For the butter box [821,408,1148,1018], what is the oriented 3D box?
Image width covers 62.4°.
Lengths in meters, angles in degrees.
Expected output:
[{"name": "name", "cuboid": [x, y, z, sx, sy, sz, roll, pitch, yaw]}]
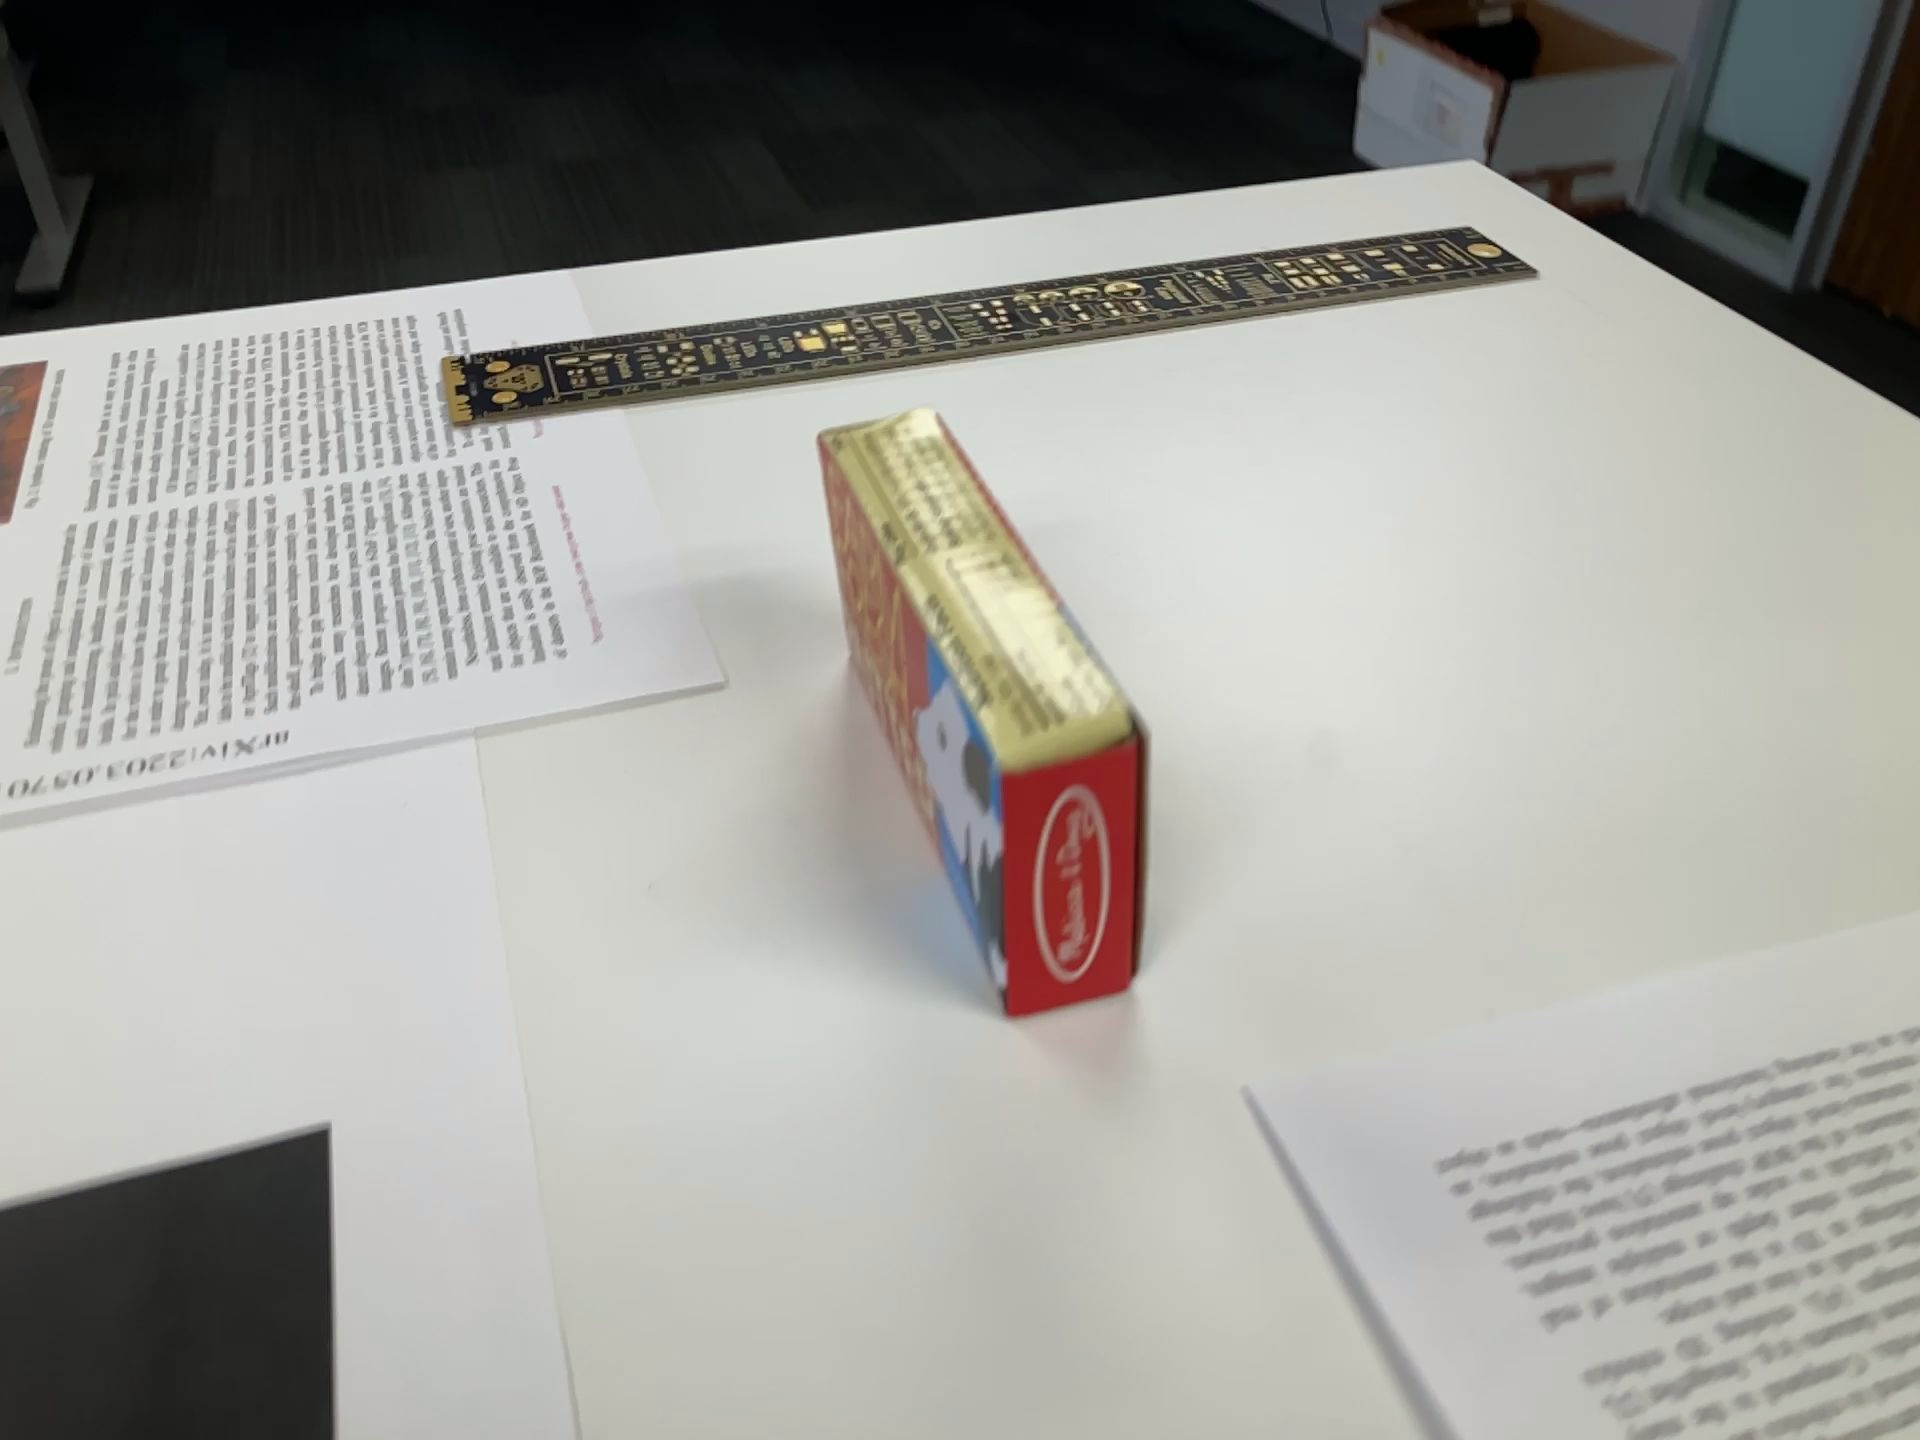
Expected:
[{"name": "butter box", "cuboid": [0.002, -0.006, 0.268, 0.024, 0.053, 0.103, -14, 40, -12]}]
